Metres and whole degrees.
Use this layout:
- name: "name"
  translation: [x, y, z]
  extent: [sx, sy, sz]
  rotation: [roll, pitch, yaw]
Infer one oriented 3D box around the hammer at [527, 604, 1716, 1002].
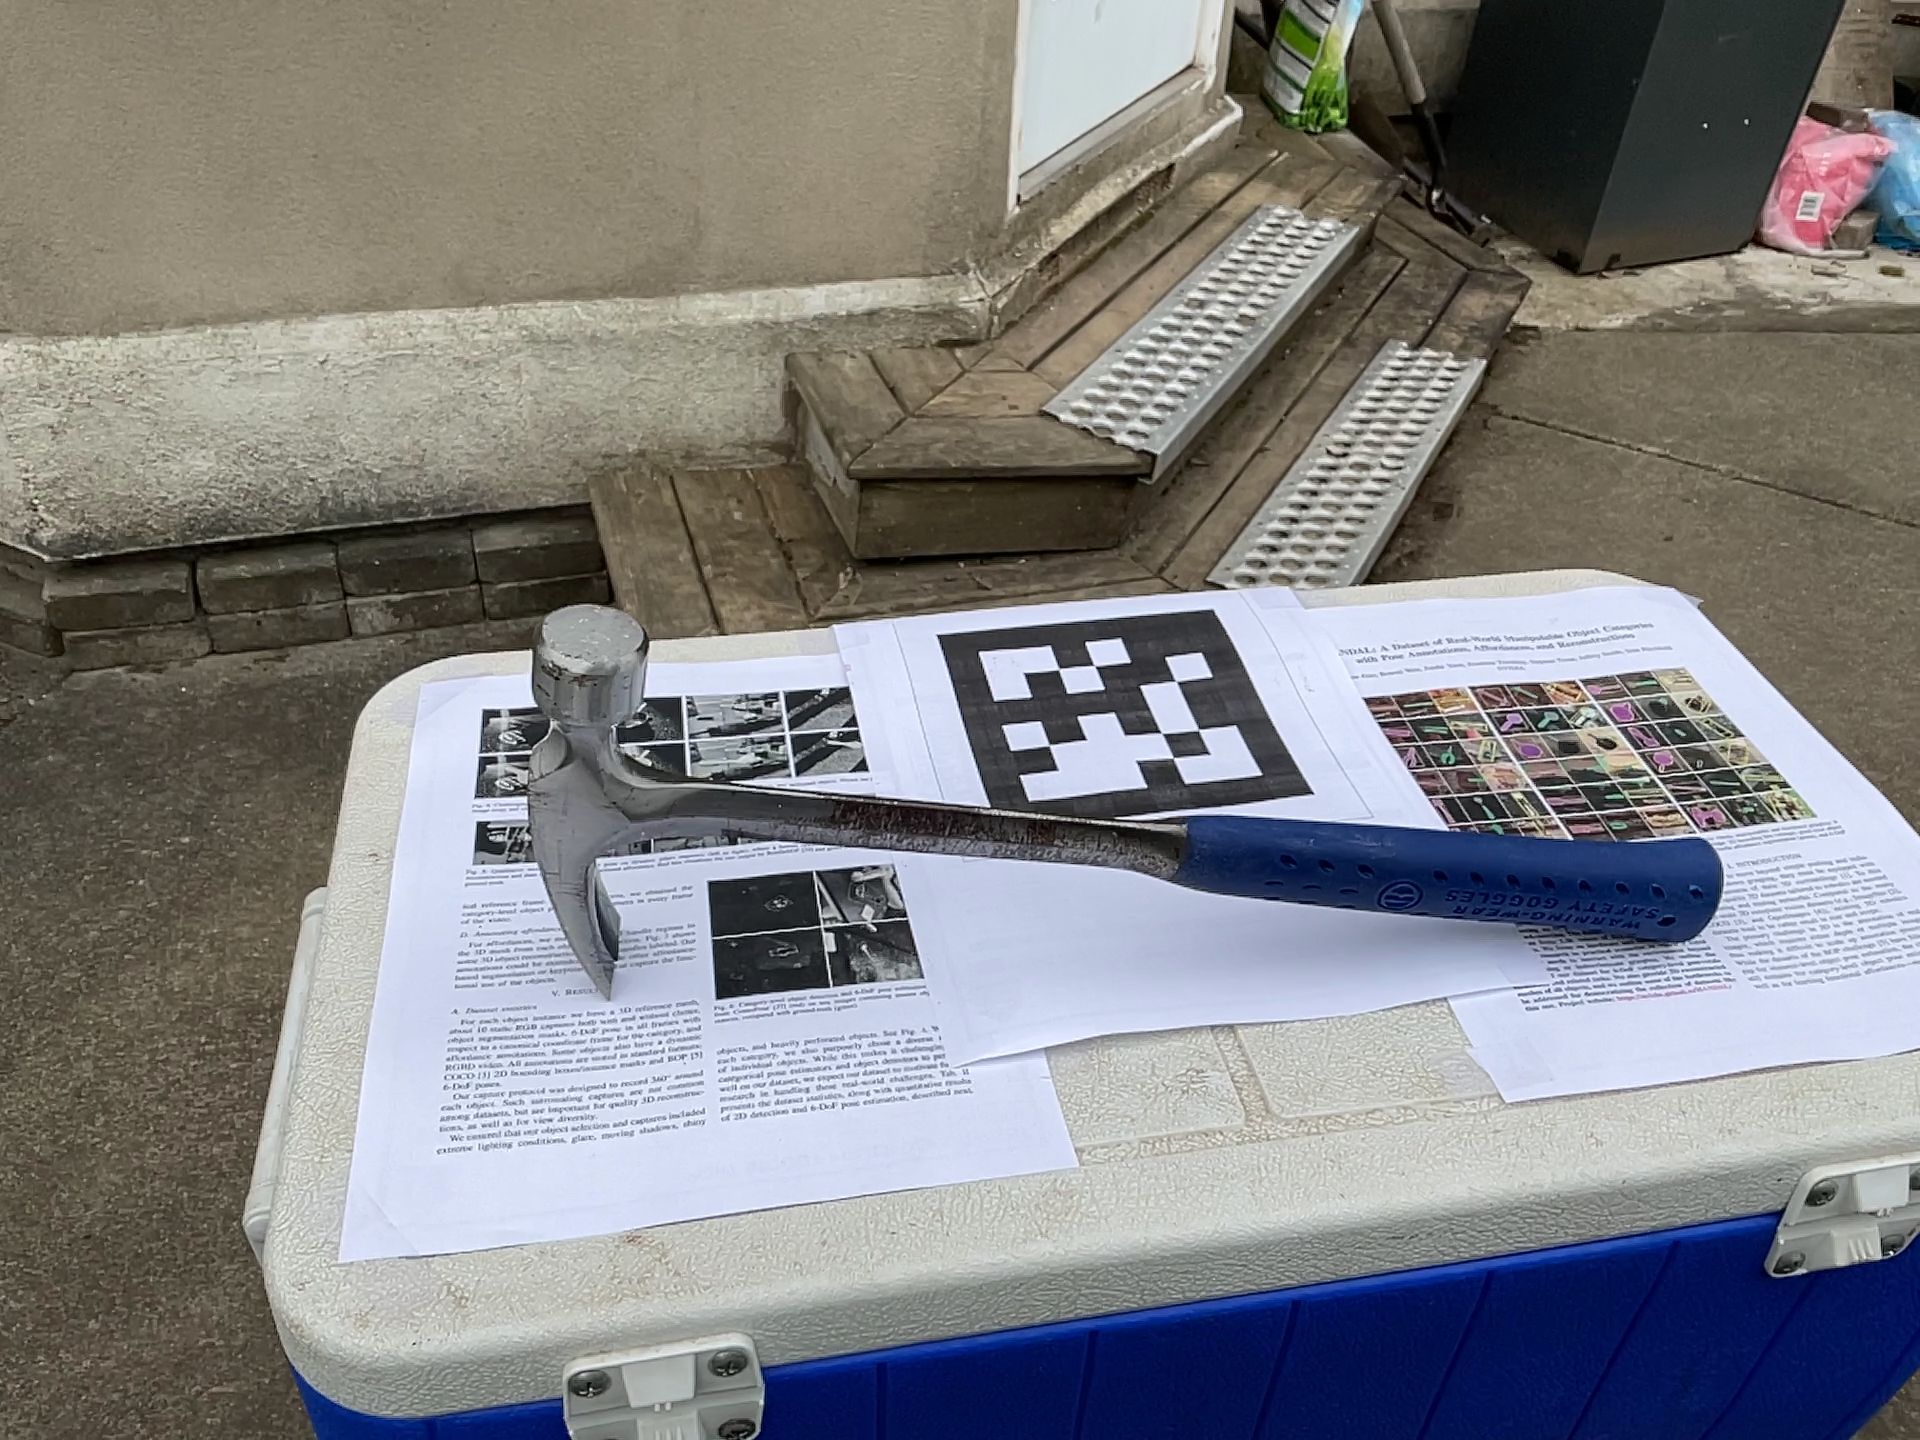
- name: "hammer"
  translation: [0.061, 0.047, 0.544]
  extent: [0.405, 0.144, 0.035]
  rotation: [6, 38, -10]
